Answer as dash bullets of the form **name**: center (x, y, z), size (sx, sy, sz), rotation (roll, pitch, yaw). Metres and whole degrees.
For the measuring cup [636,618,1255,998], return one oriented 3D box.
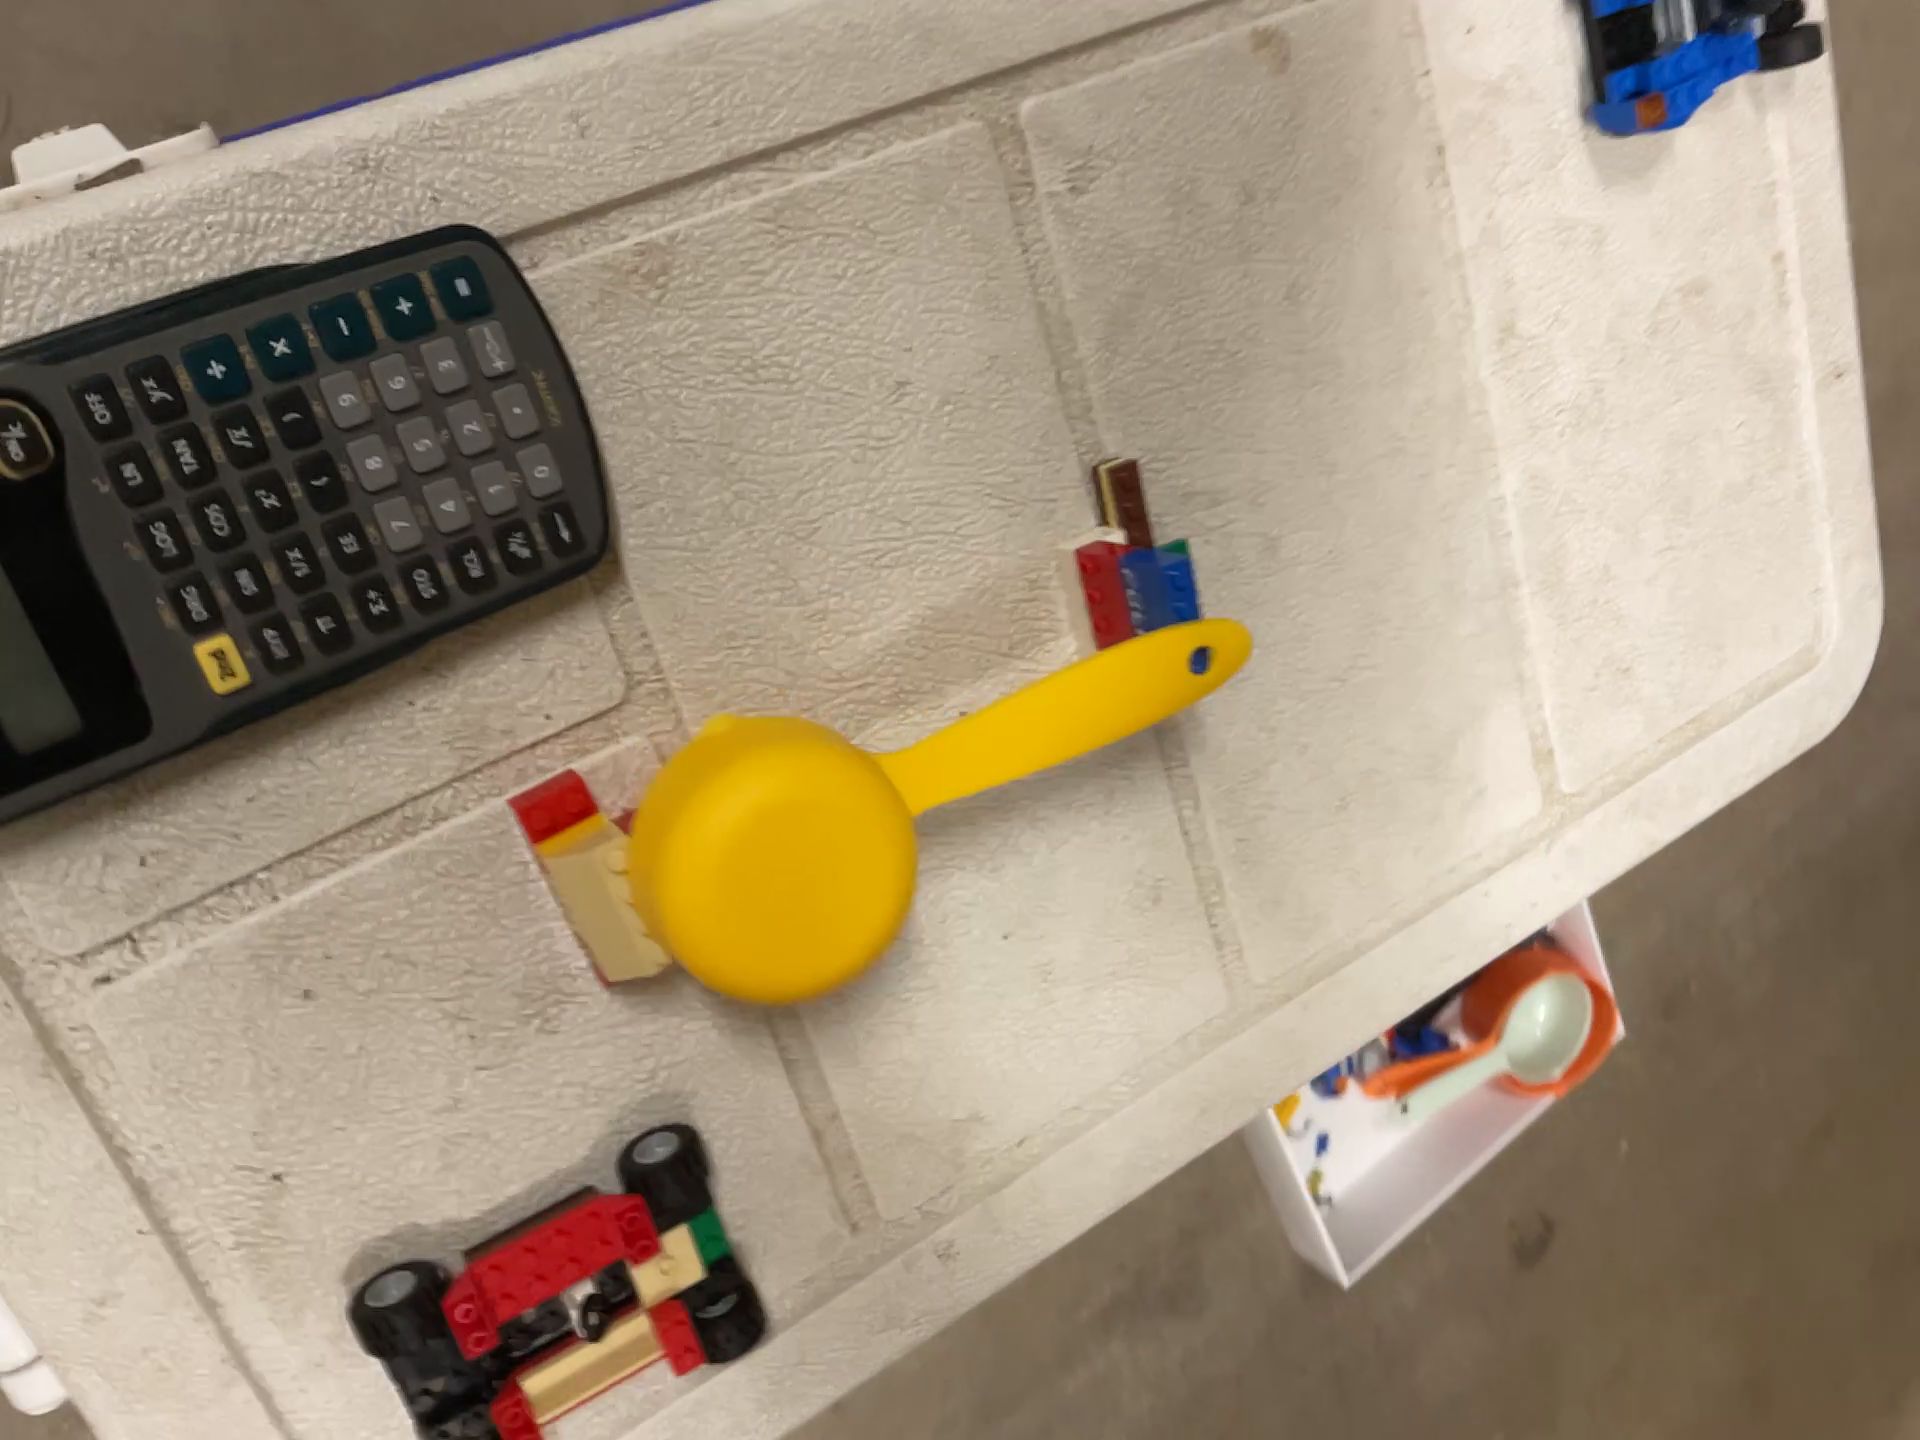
- **measuring cup**: center (0.006, 0.012, 0.353), size (0.156, 0.029, 0.062), rotation (-24, 112, -16)
